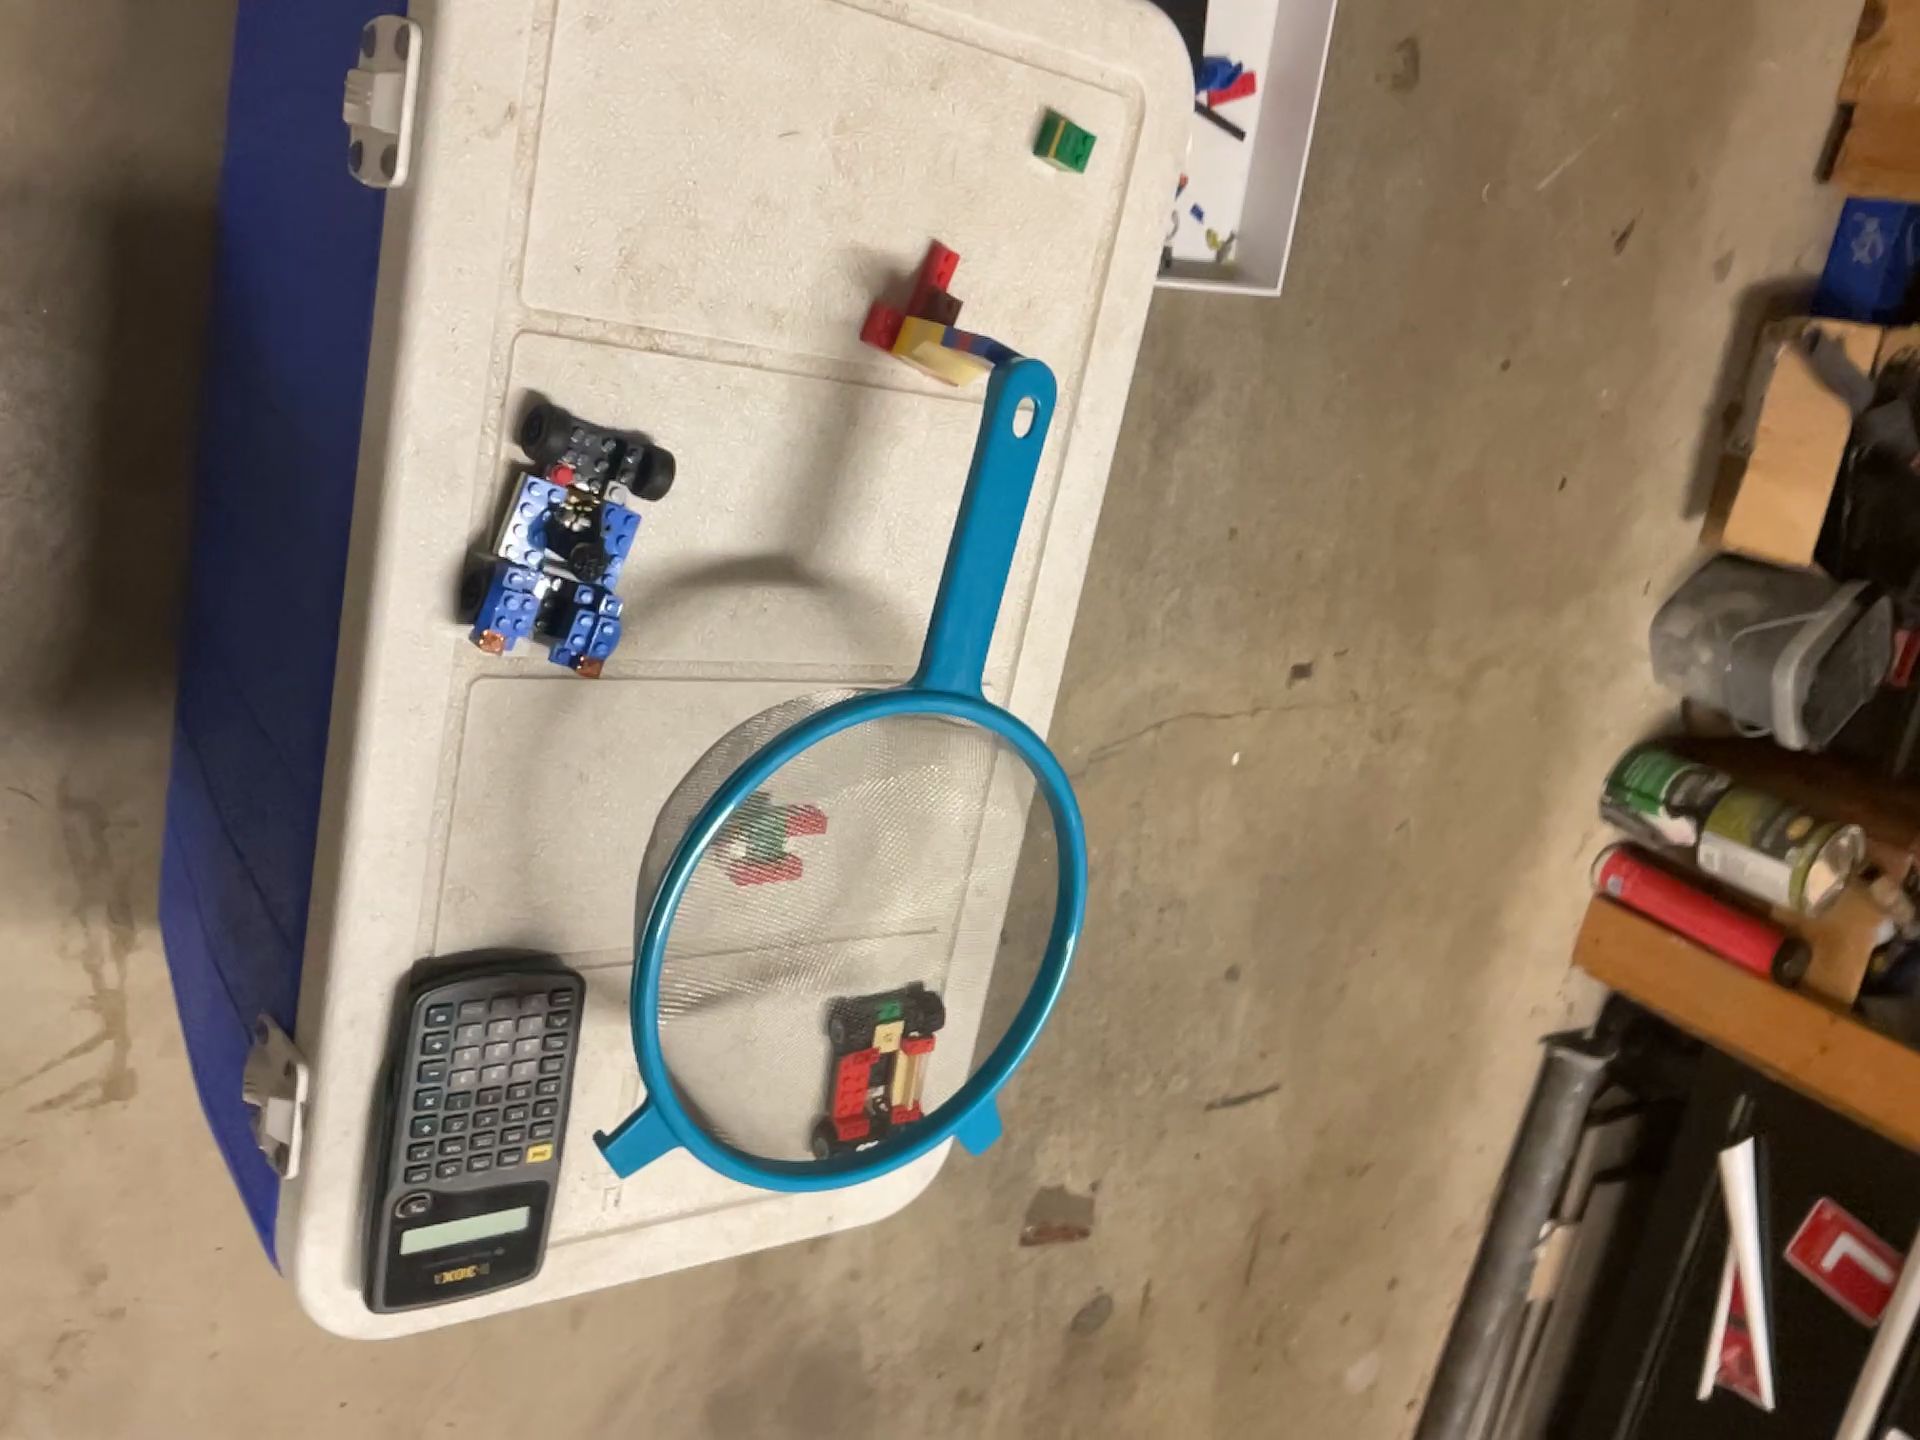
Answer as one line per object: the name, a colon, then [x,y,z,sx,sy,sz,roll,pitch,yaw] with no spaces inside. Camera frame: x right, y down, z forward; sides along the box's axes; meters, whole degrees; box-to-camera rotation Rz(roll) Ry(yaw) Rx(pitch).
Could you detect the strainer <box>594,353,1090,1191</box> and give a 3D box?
strainer: [-0.038,0.016,0.651,0.211,0.095,0.340,10,98,-39]
